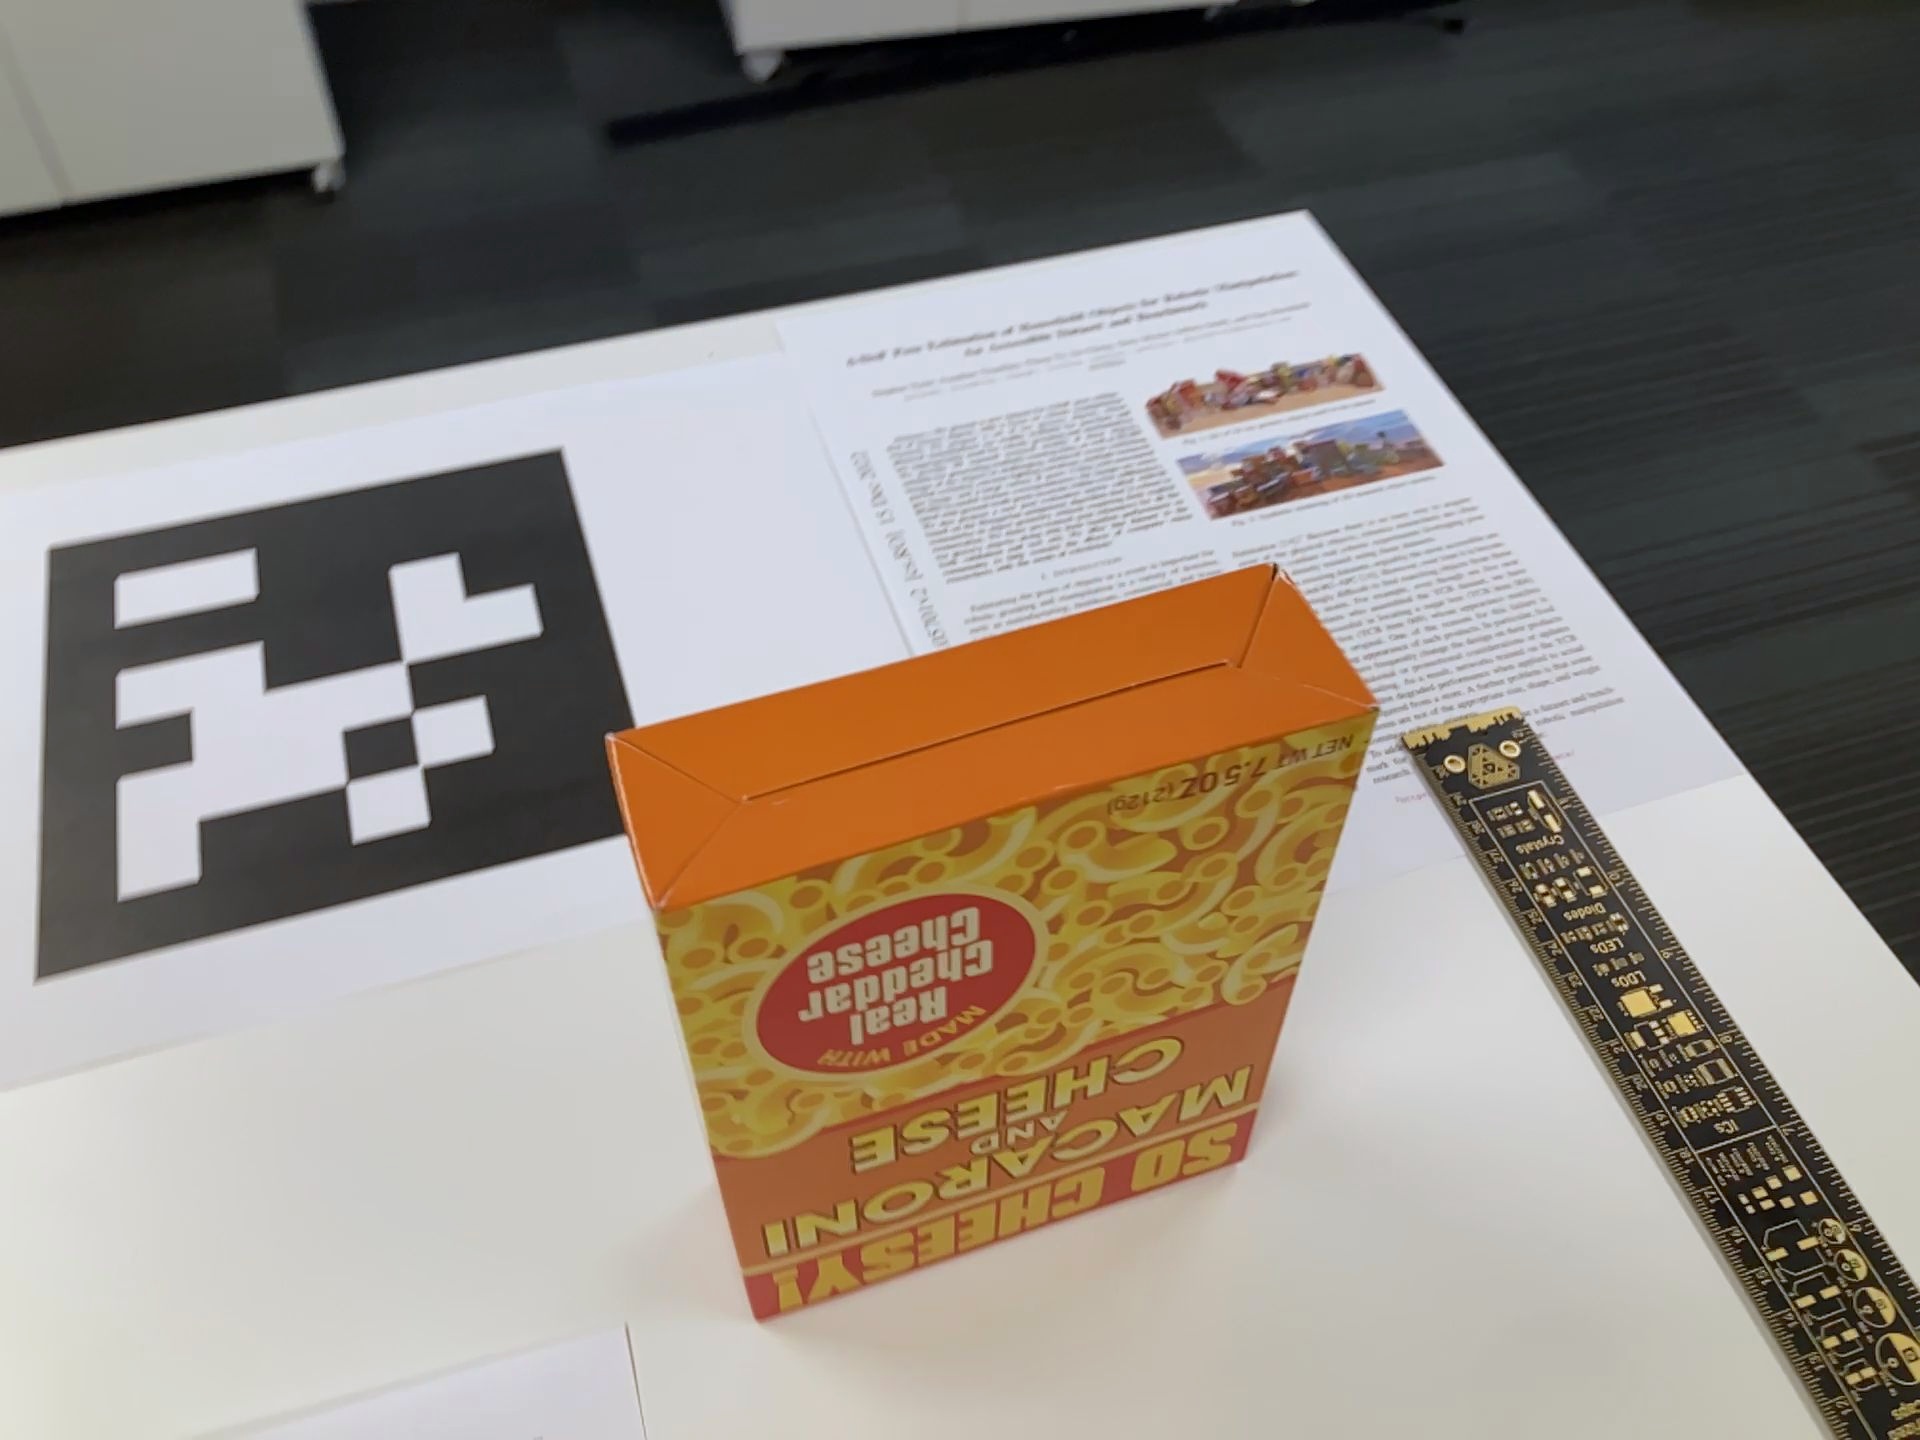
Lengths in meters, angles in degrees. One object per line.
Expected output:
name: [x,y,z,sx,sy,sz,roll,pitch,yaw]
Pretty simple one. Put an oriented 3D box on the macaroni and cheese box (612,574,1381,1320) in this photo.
macaroni and cheese box: [0.007,0.055,0.323,0.124,0.166,0.040,-14,51,-12]
